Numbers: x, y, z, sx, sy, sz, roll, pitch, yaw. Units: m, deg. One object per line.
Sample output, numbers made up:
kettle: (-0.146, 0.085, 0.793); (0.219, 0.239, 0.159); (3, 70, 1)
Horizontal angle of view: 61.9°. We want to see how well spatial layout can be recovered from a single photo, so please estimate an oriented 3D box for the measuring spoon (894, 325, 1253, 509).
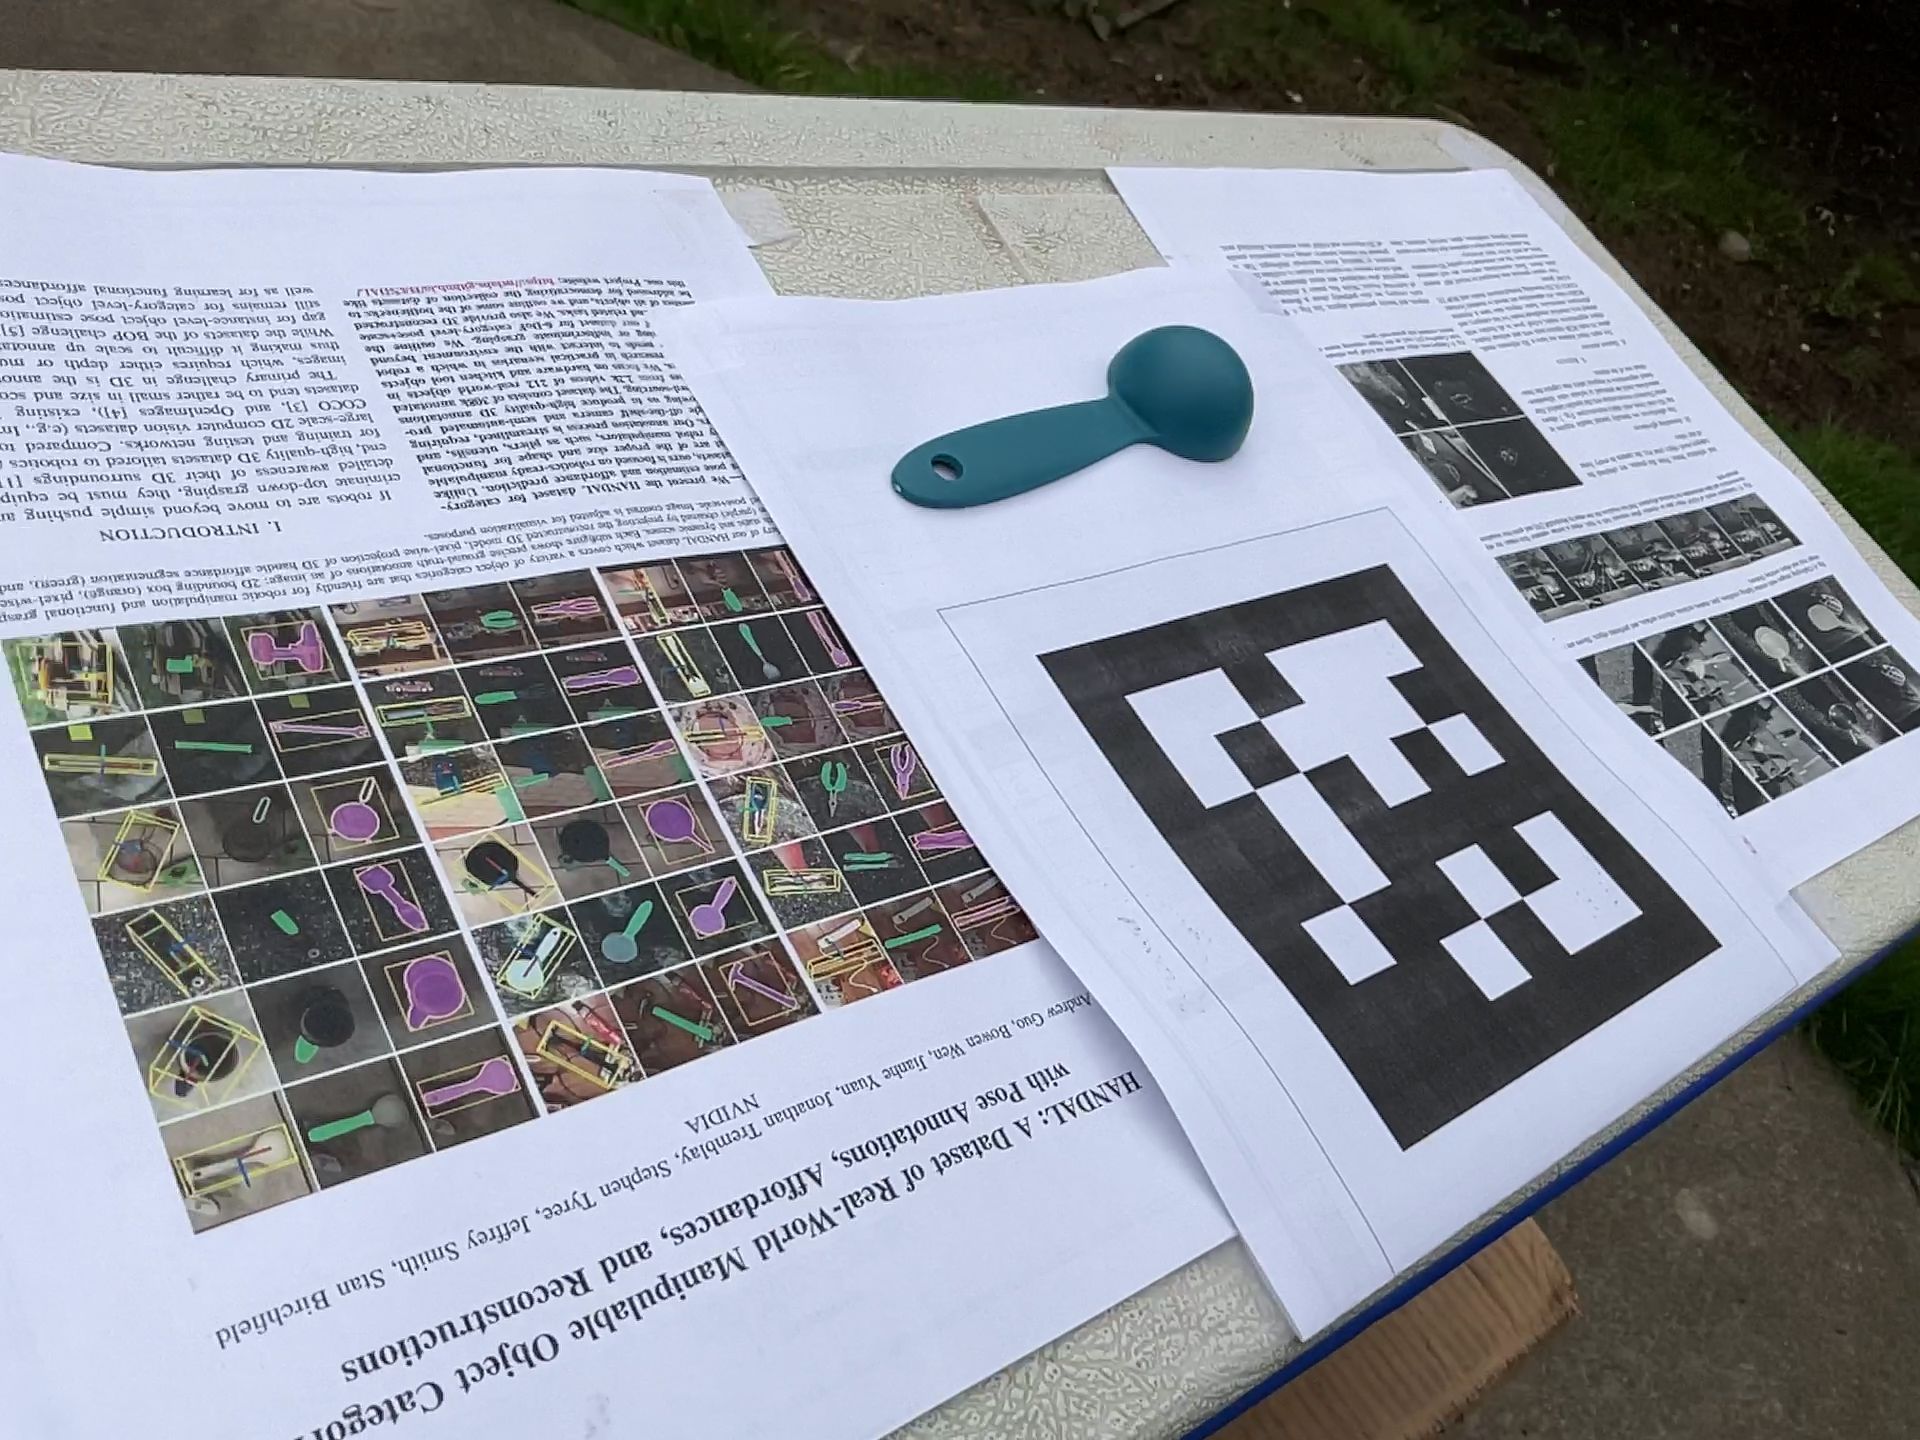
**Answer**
measuring spoon: (0.034, -0.078, 0.404); (0.128, 0.021, 0.042); (-25, 75, -41)
